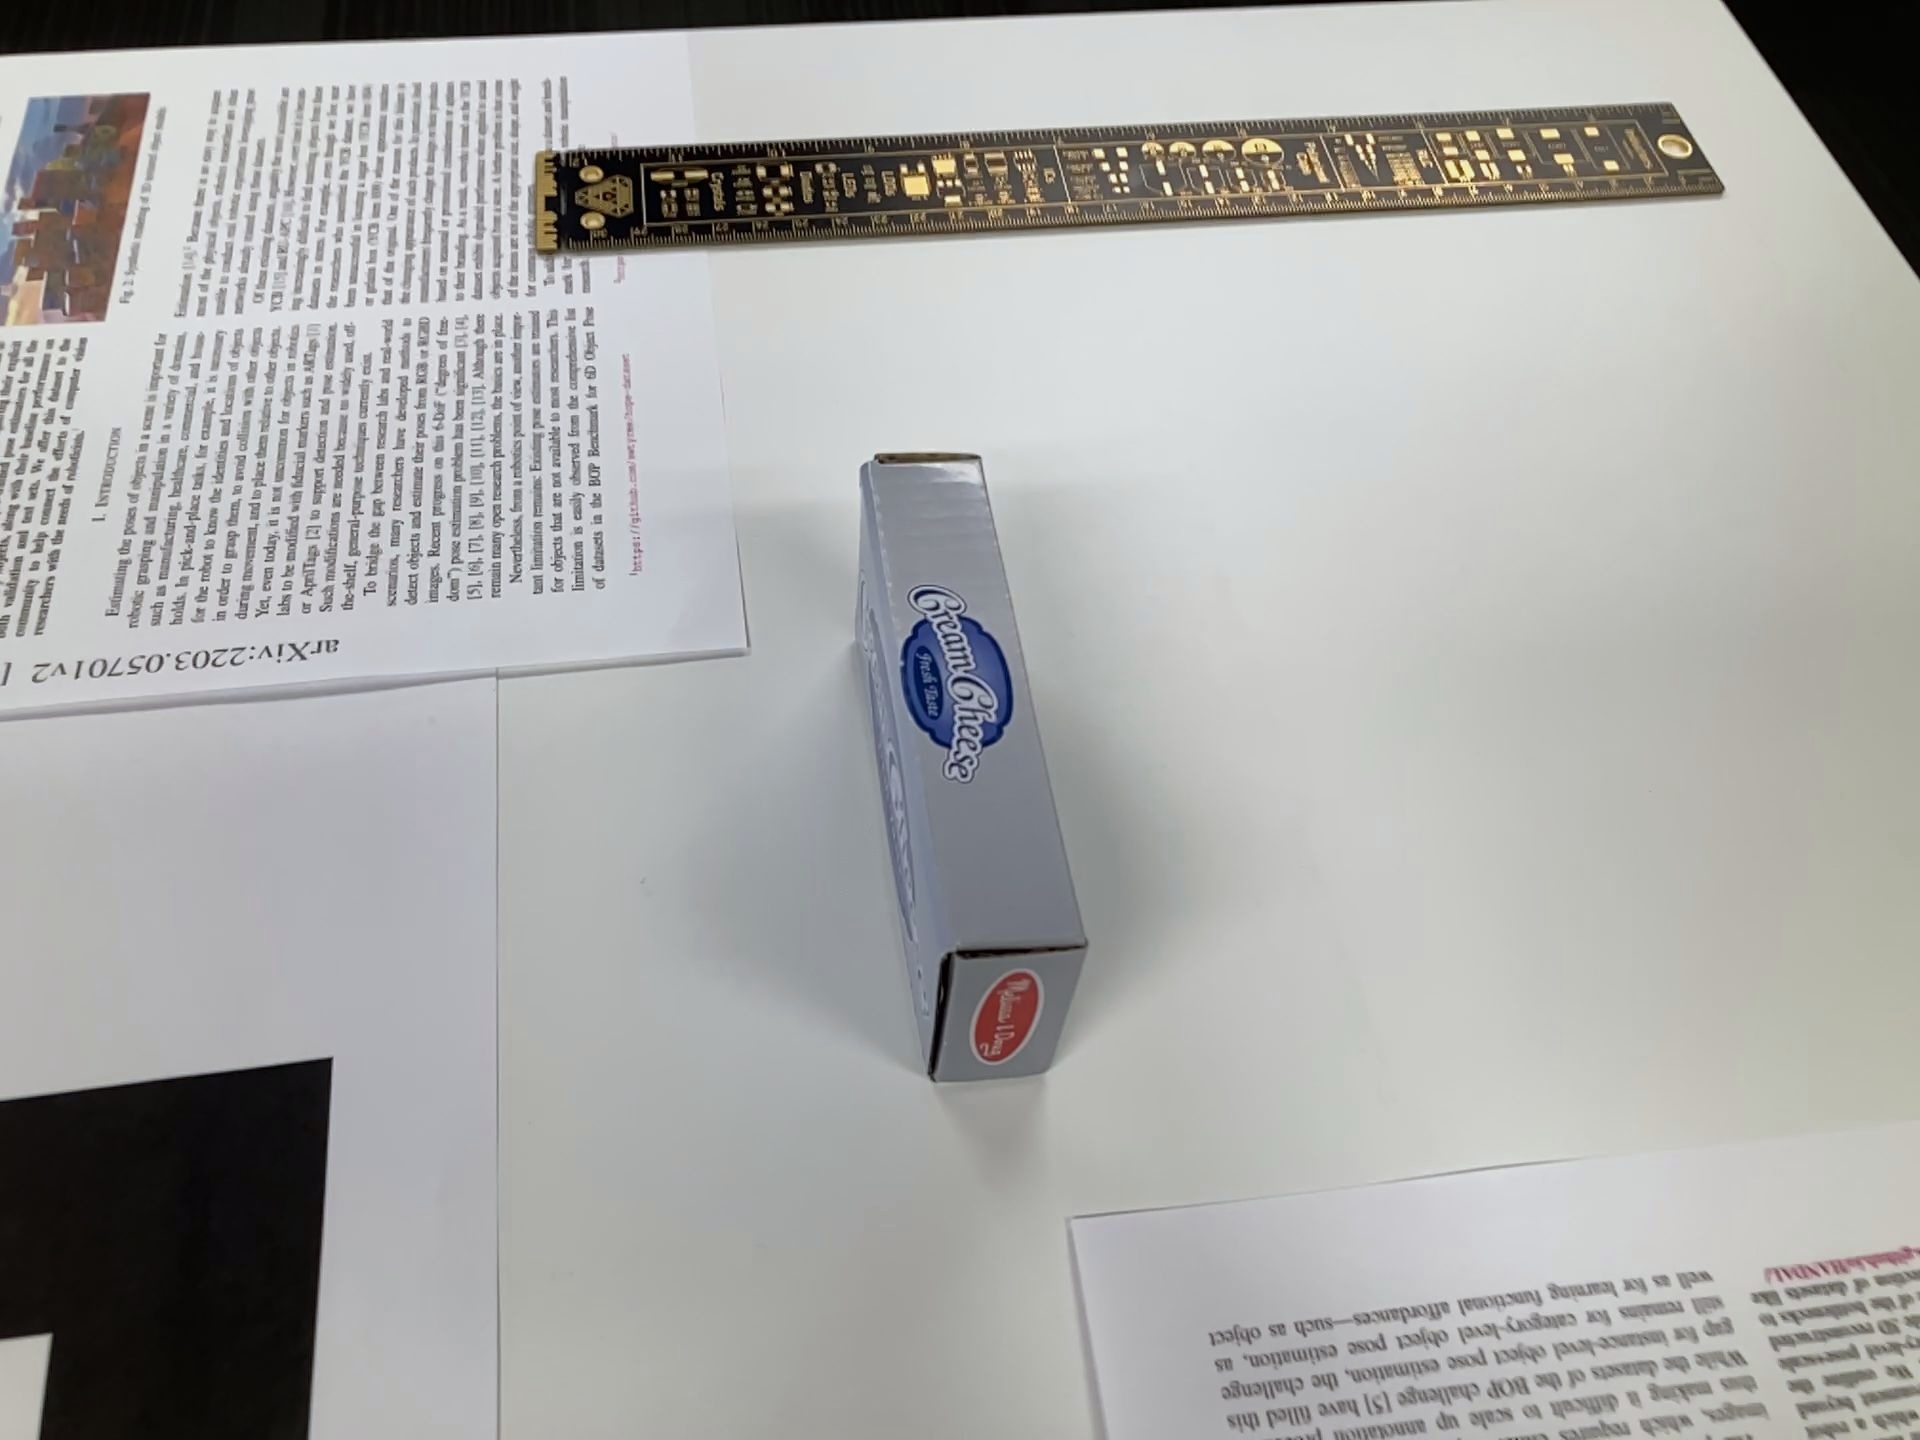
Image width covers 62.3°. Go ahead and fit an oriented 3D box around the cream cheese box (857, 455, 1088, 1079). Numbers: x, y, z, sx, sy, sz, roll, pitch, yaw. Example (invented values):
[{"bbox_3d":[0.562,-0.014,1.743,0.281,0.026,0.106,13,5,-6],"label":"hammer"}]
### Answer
[{"bbox_3d":[-0.001,0.007,0.289,0.024,0.053,0.104,-4,56,-9],"label":"cream cheese box"}]
